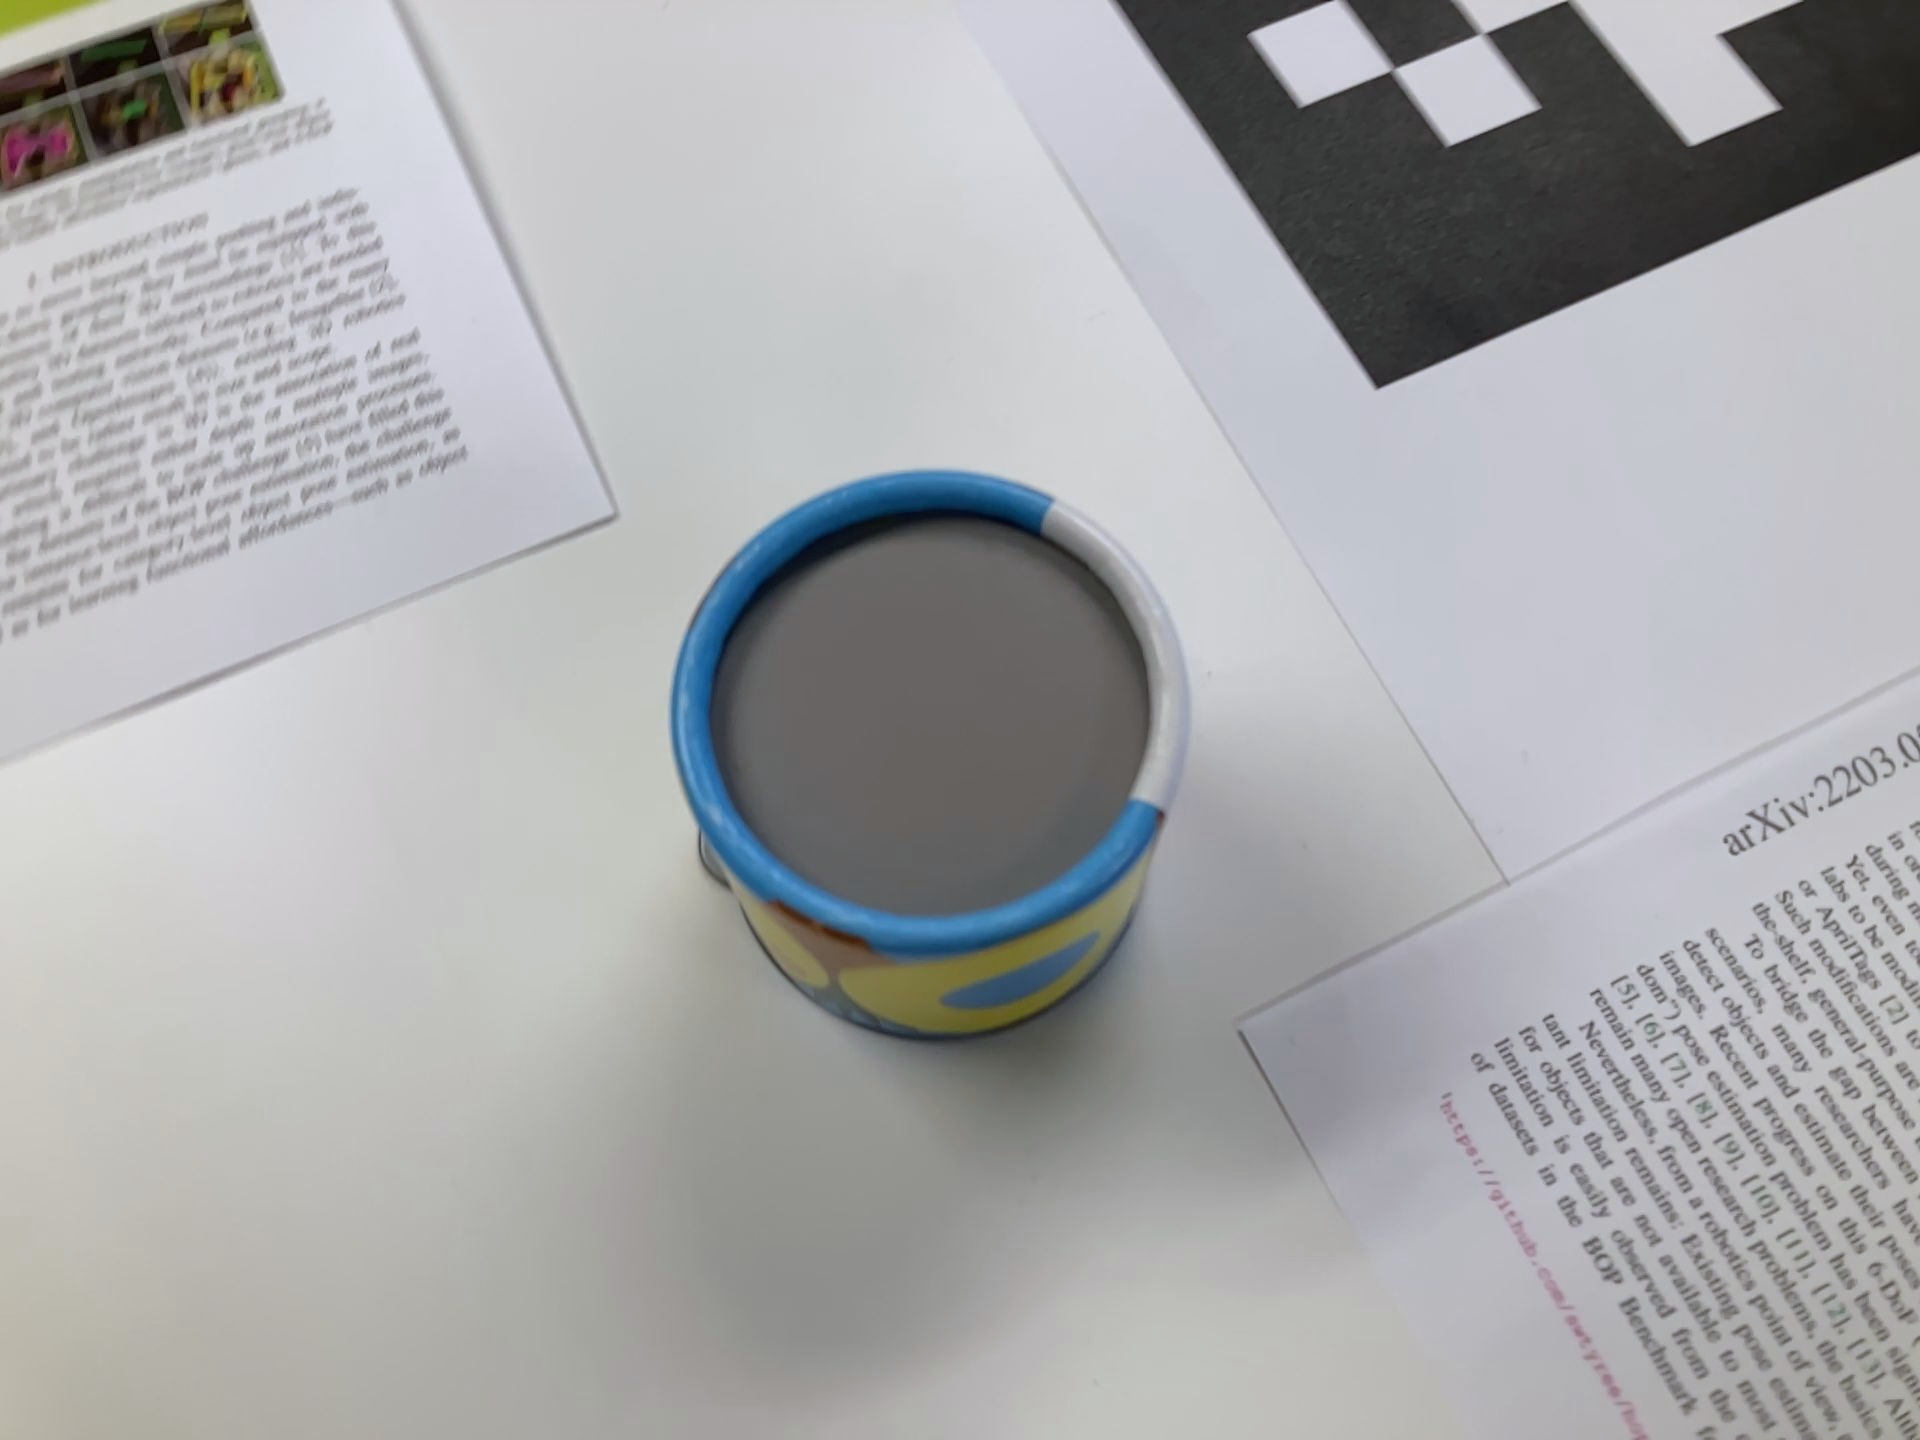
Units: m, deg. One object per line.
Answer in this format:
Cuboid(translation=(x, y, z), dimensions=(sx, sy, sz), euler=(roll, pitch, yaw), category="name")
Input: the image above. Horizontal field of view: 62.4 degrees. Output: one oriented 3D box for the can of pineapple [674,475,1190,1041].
Cuboid(translation=(-0.005, 0.008, 0.224), dimensions=(0.071, 0.058, 0.071), euler=(0, 68, 1), category="can of pineapple")
